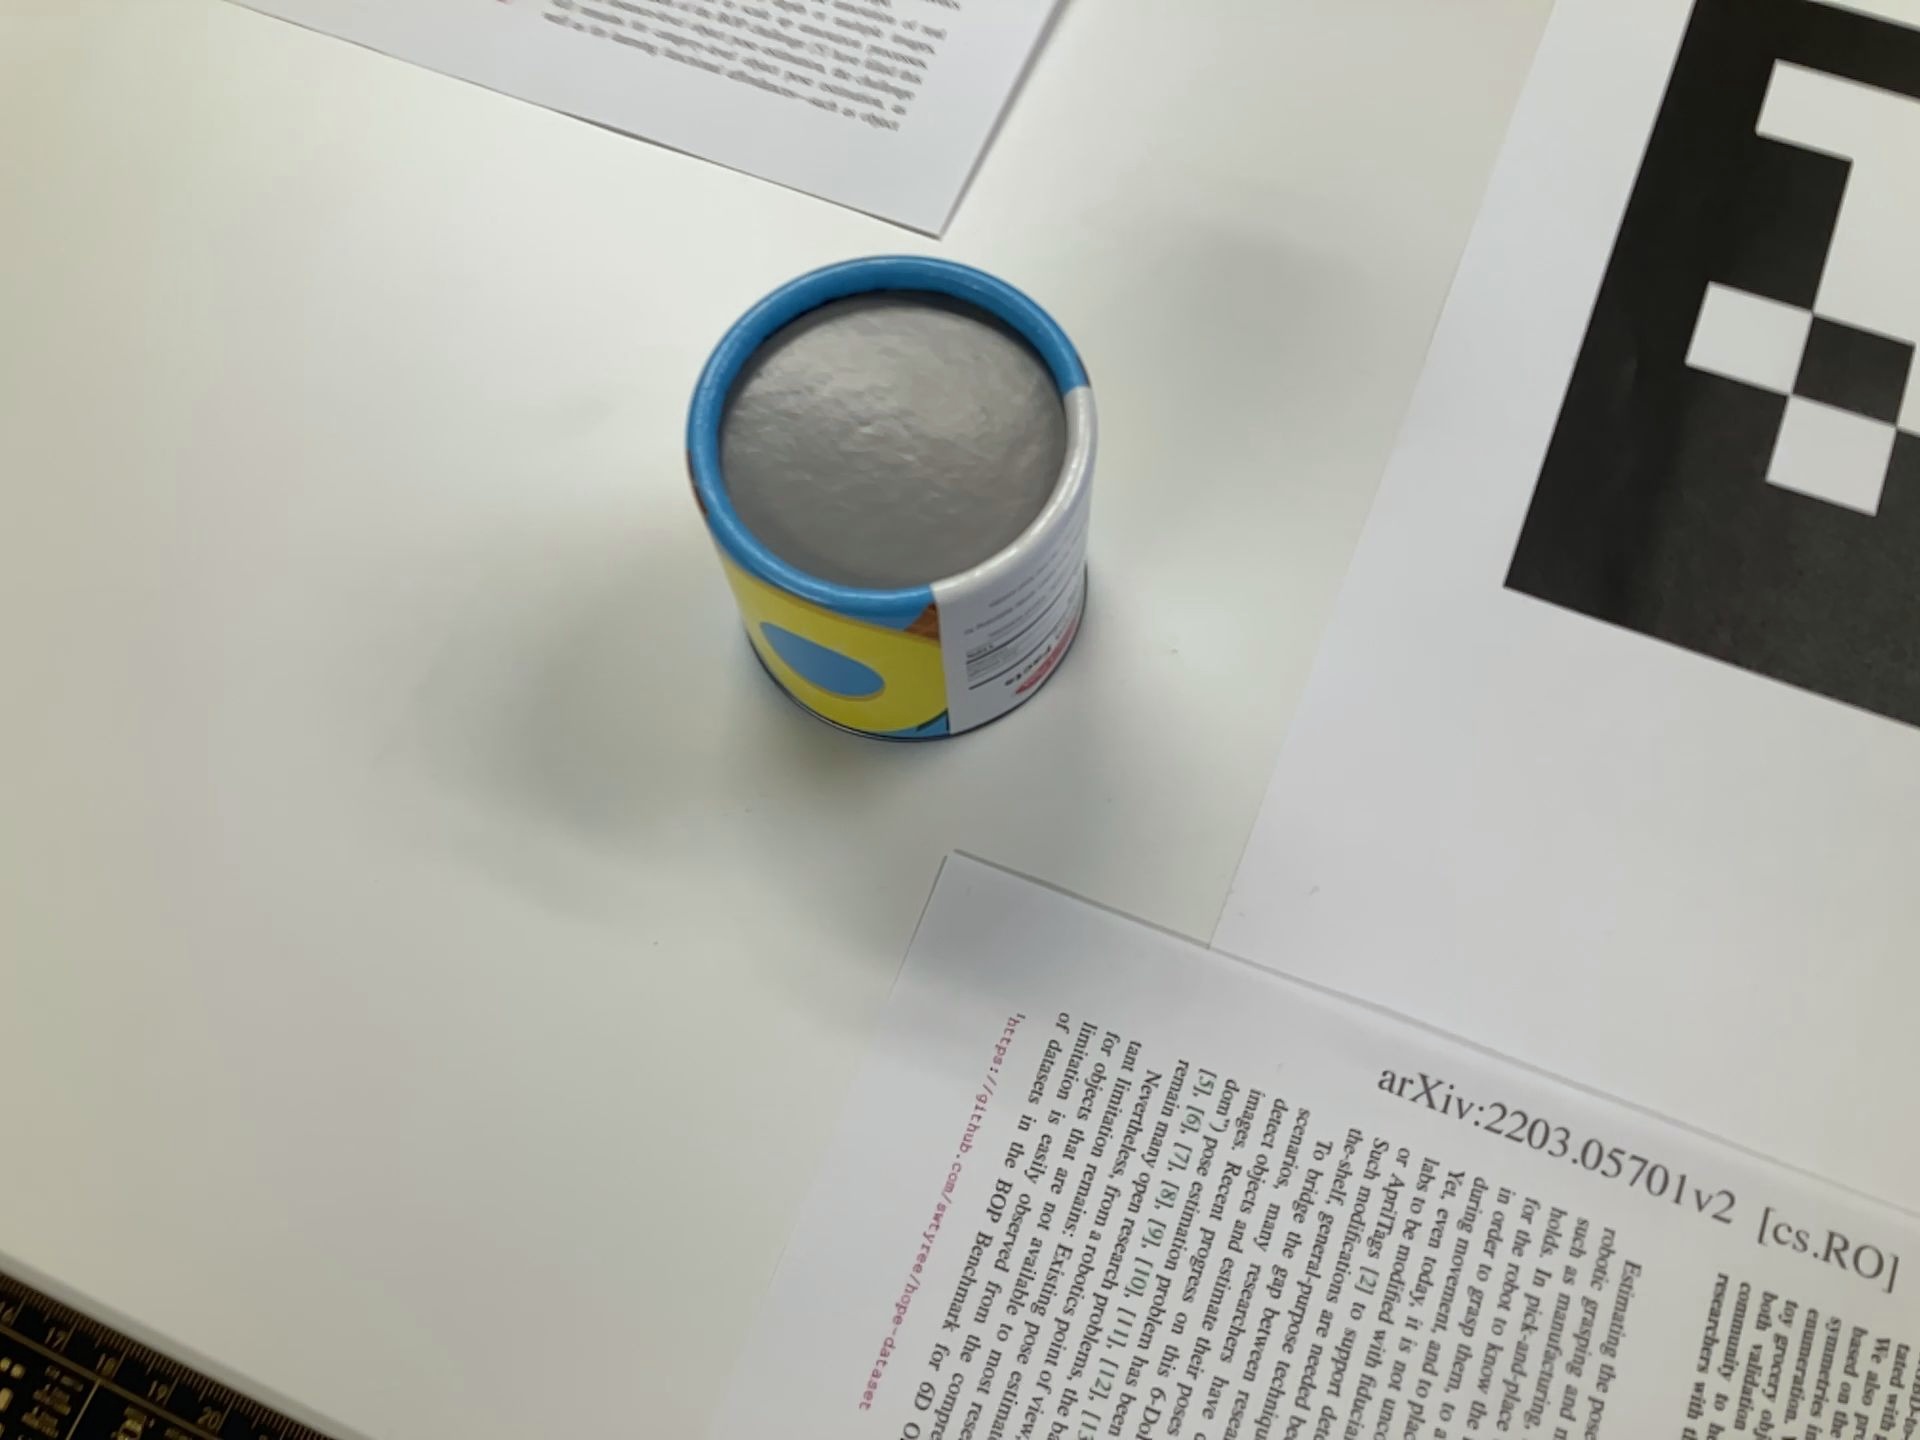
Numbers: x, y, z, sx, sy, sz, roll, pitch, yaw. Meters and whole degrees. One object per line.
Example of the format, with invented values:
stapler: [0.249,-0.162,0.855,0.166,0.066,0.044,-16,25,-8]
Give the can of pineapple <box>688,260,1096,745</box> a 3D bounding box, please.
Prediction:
can of pineapple: [-0.012,-0.037,0.277,0.071,0.058,0.071,-1,69,2]
